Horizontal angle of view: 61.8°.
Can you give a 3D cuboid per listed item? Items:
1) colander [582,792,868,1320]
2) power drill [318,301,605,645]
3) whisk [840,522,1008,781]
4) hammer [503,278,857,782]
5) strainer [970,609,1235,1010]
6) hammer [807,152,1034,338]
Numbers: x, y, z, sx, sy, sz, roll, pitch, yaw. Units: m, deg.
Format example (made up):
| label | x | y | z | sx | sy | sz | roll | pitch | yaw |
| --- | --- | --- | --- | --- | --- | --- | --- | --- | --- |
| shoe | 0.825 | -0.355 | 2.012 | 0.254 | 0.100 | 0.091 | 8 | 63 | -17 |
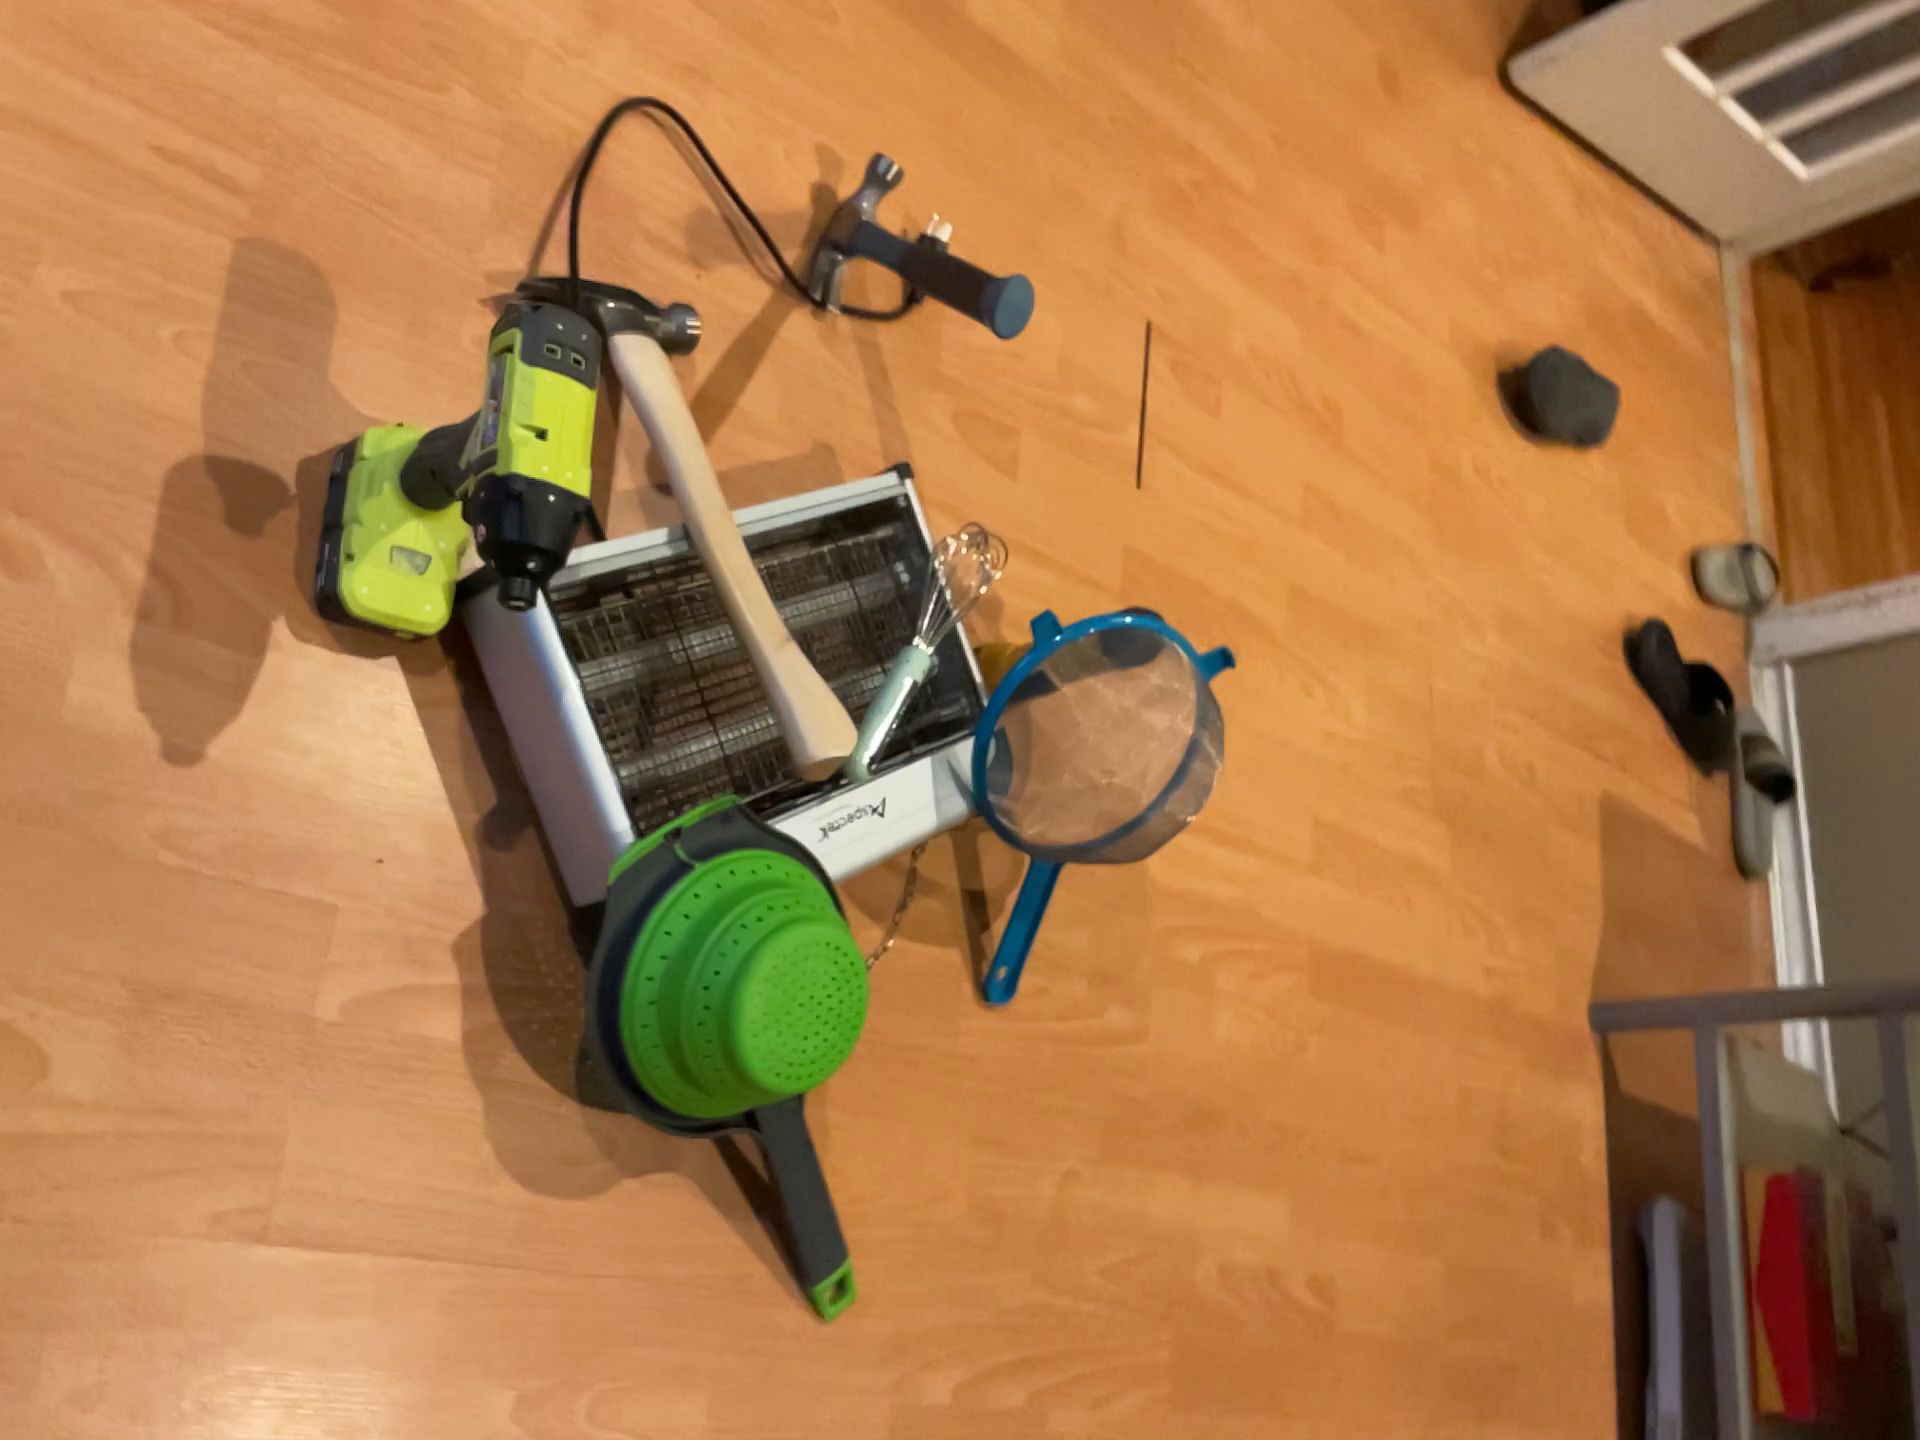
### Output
| label | x | y | z | sx | sy | sz | roll | pitch | yaw |
| --- | --- | --- | --- | --- | --- | --- | --- | --- | --- |
| colander | -0.108 | 0.244 | 1.044 | 0.205 | 0.094 | 0.396 | -32 | 118 | -37 |
| power drill | -0.291 | -0.127 | 0.939 | 0.080 | 0.223 | 0.171 | 17 | 68 | -40 |
| whisk | -0.029 | -0.054 | 1.188 | 0.246 | 0.059 | 0.057 | -63 | 151 | -31 |
| hammer | -0.178 | -0.137 | 1.077 | 0.146 | 0.038 | 0.411 | -1 | 56 | -45 |
| strainer | 0.100 | 0.090 | 1.228 | 0.211 | 0.095 | 0.340 | 9 | 108 | -32 |
| hammer | -0.031 | -0.347 | 1.214 | 0.033 | 0.331 | 0.128 | 30 | 99 | -35 |
